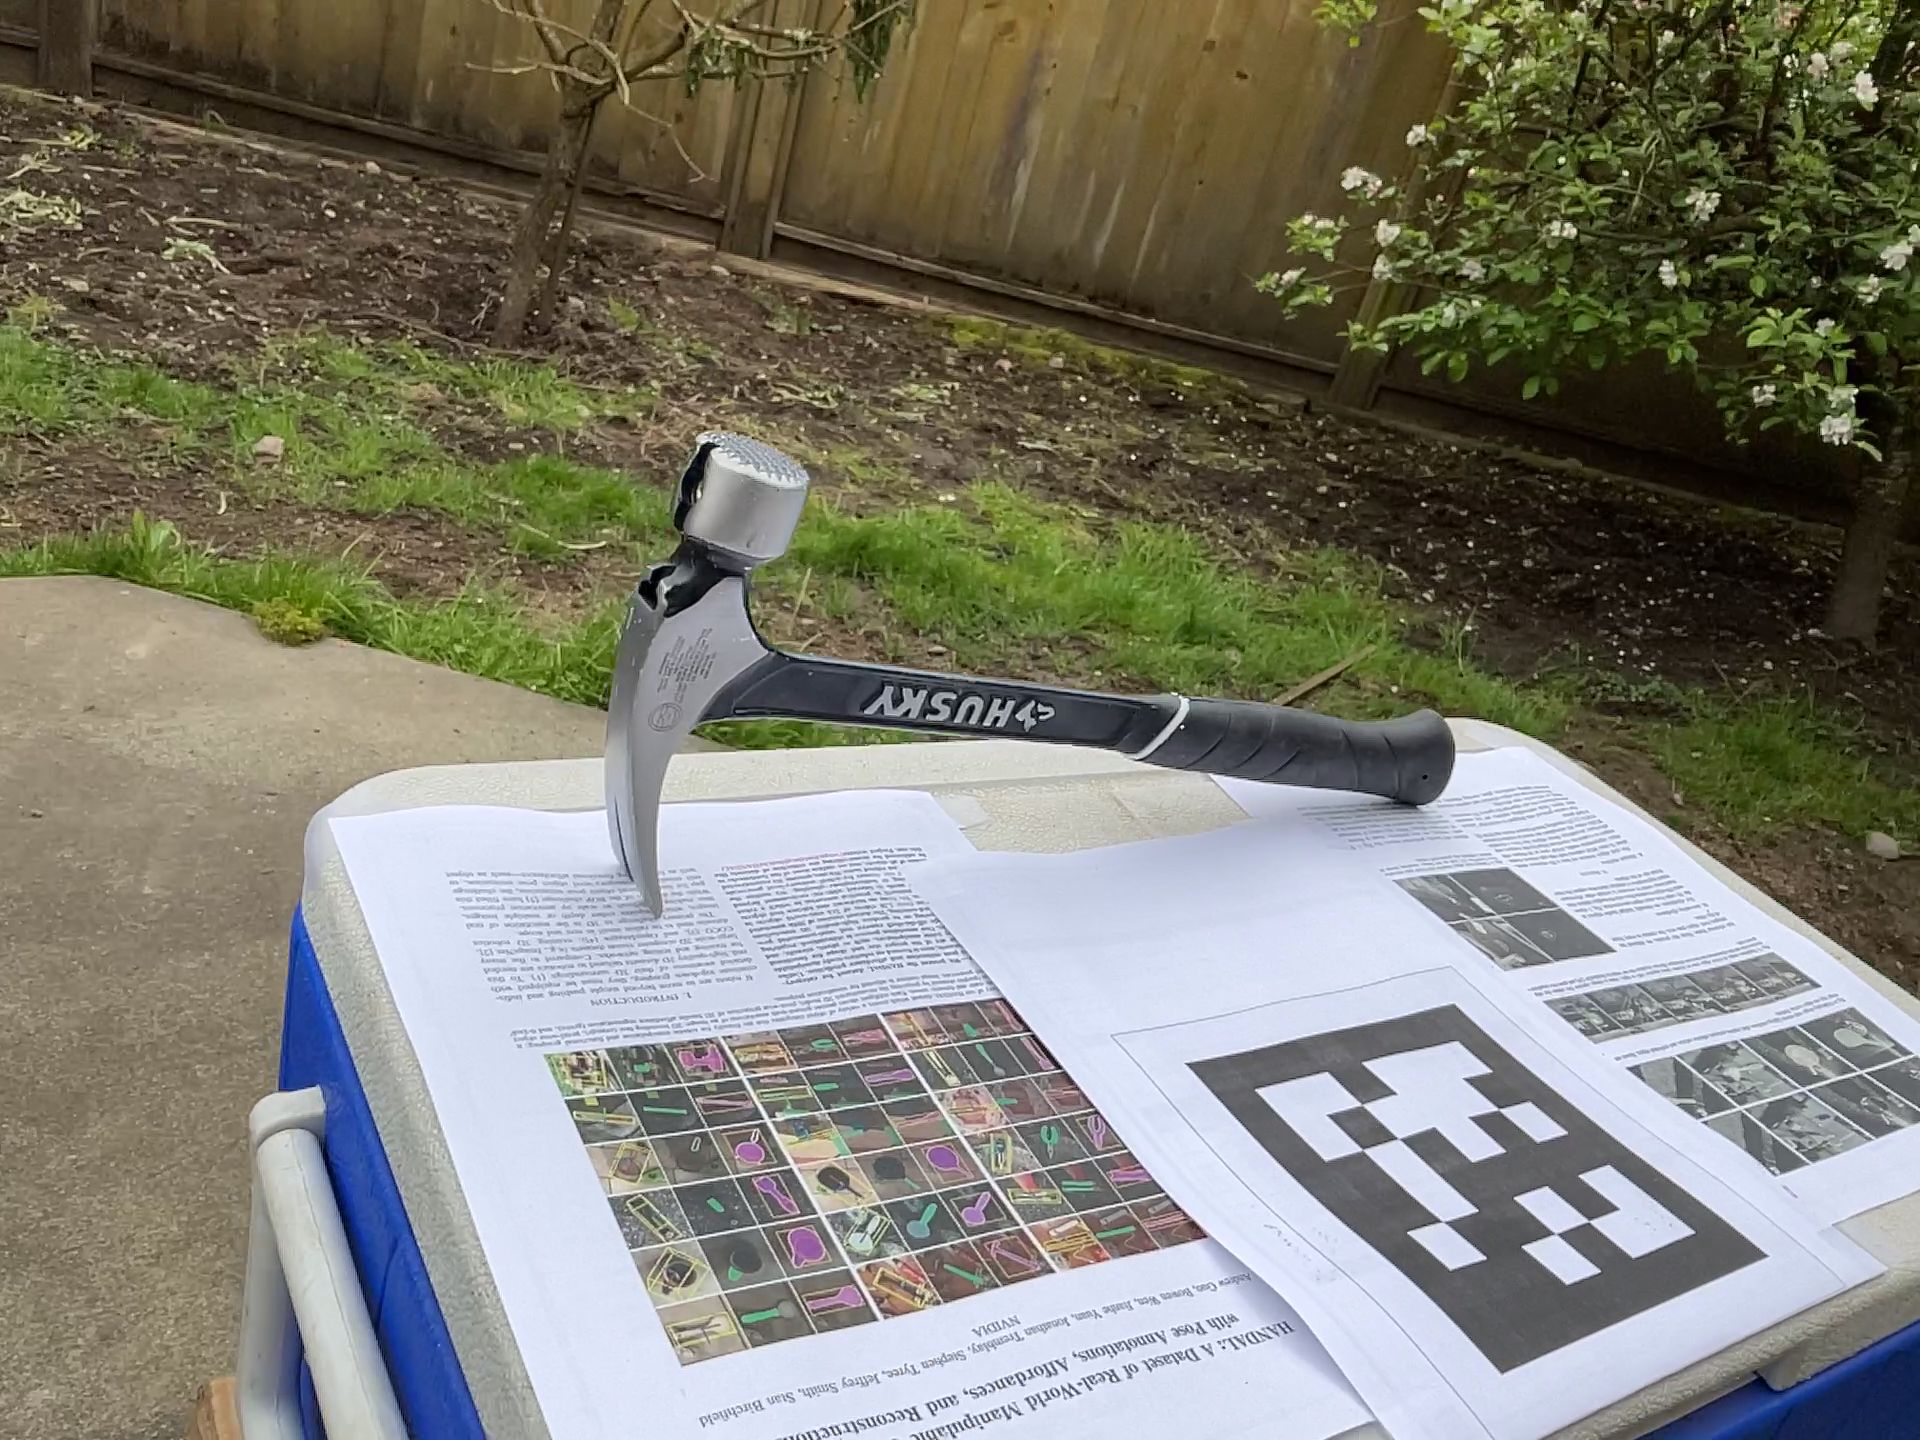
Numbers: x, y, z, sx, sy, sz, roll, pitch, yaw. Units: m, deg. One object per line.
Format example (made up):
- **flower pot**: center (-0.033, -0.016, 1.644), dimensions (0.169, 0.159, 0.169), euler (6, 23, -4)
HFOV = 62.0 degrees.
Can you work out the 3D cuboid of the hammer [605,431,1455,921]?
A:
- **hammer**: center (0.056, 0.007, 0.589), dimensions (0.408, 0.149, 0.036), euler (7, 25, -40)
